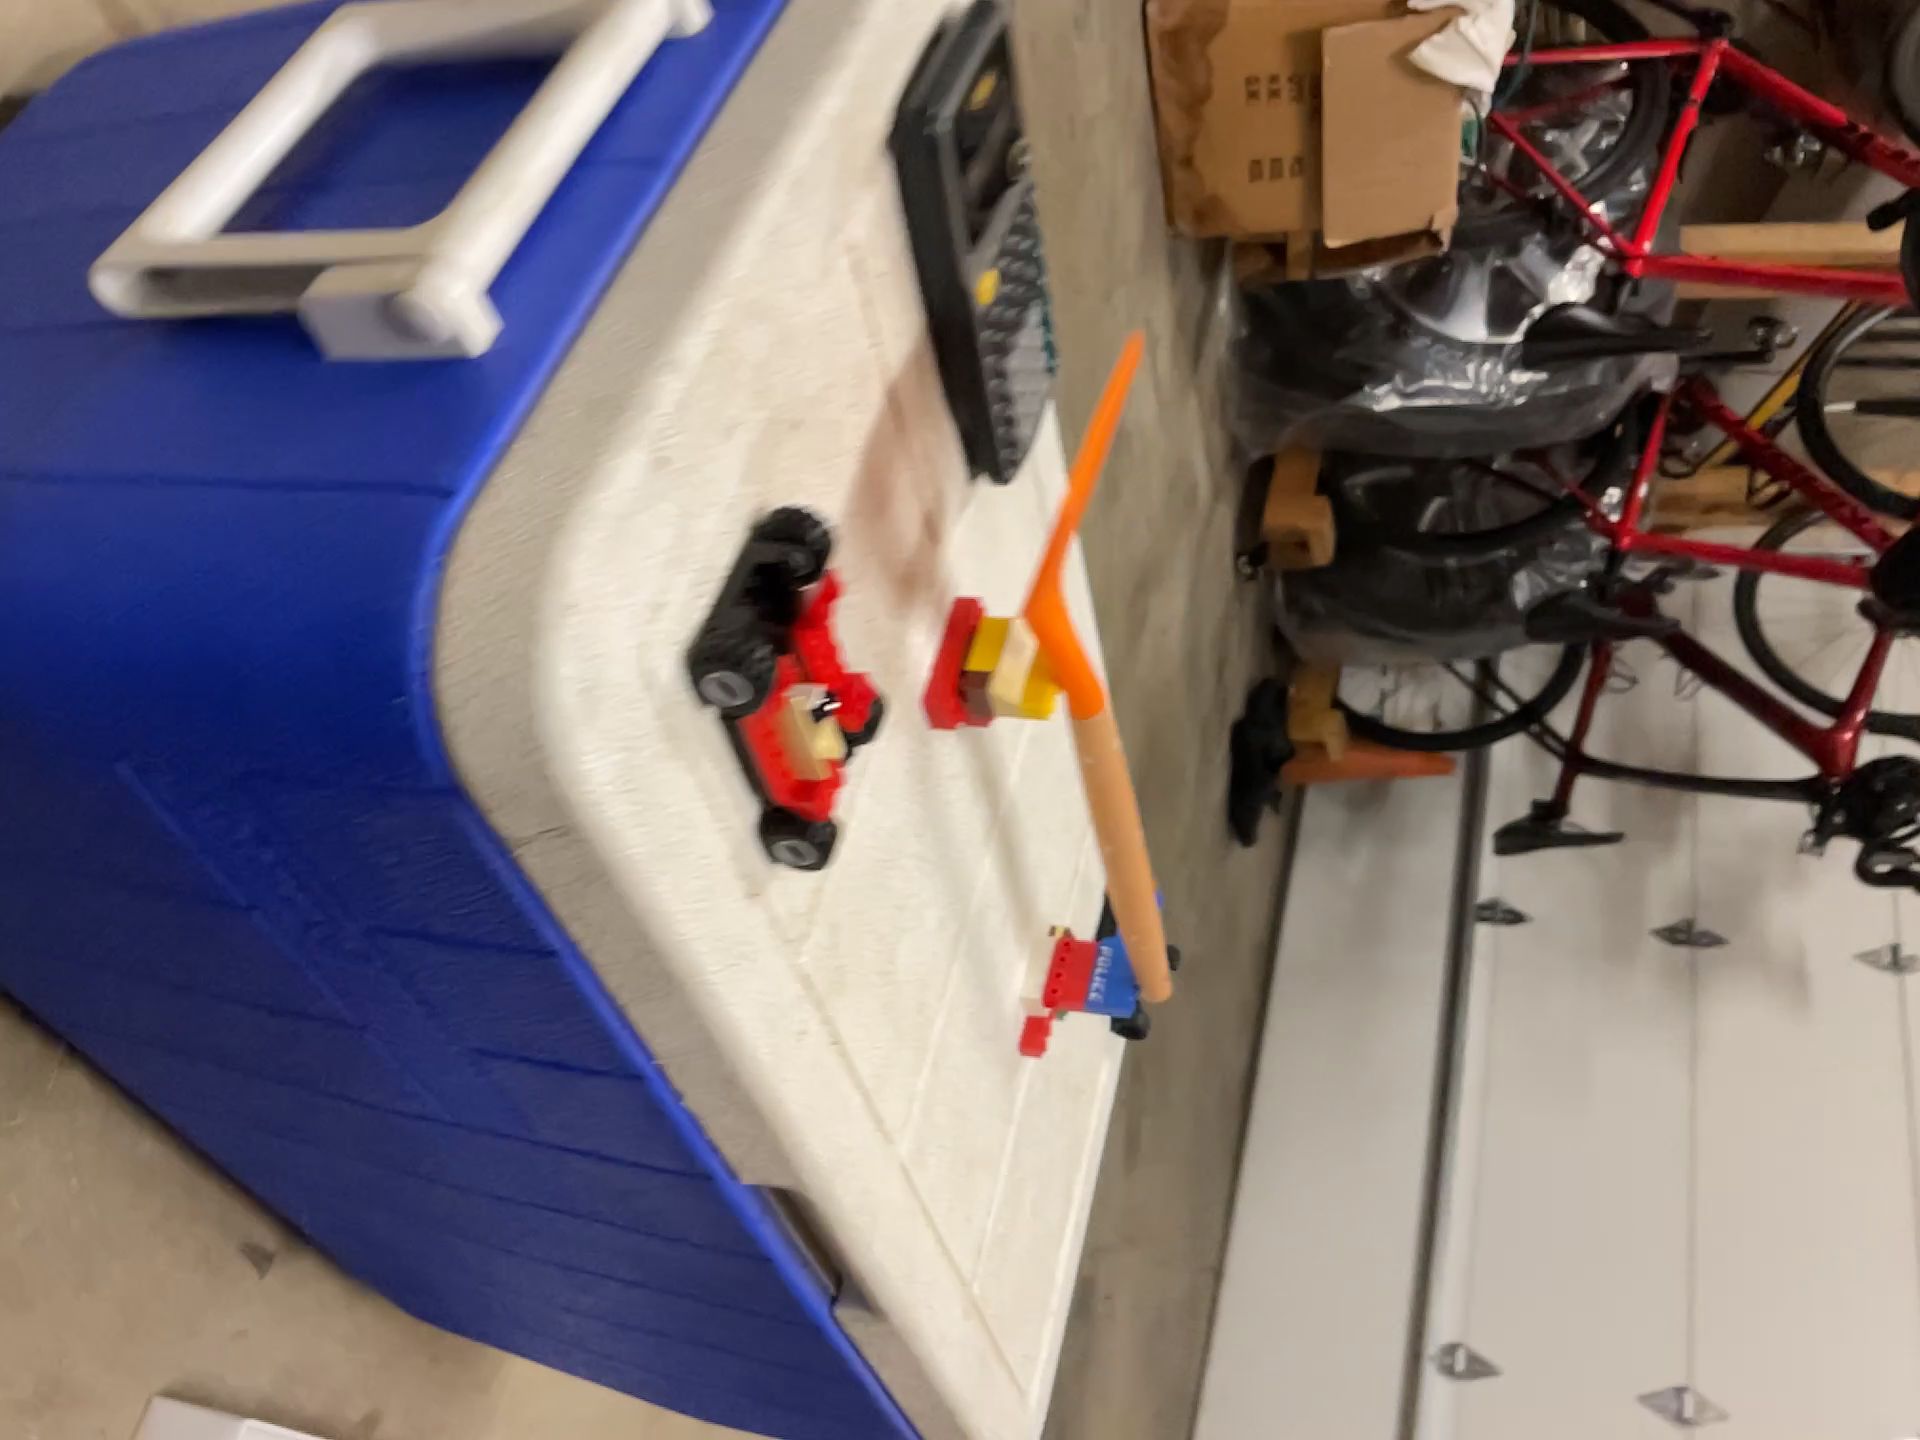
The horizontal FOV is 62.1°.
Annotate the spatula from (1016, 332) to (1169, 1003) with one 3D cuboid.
[{"bbox_3d":[0.058,0.013,0.578,0.322,0.041,0.081,72,32,-46],"label":"spatula"}]
